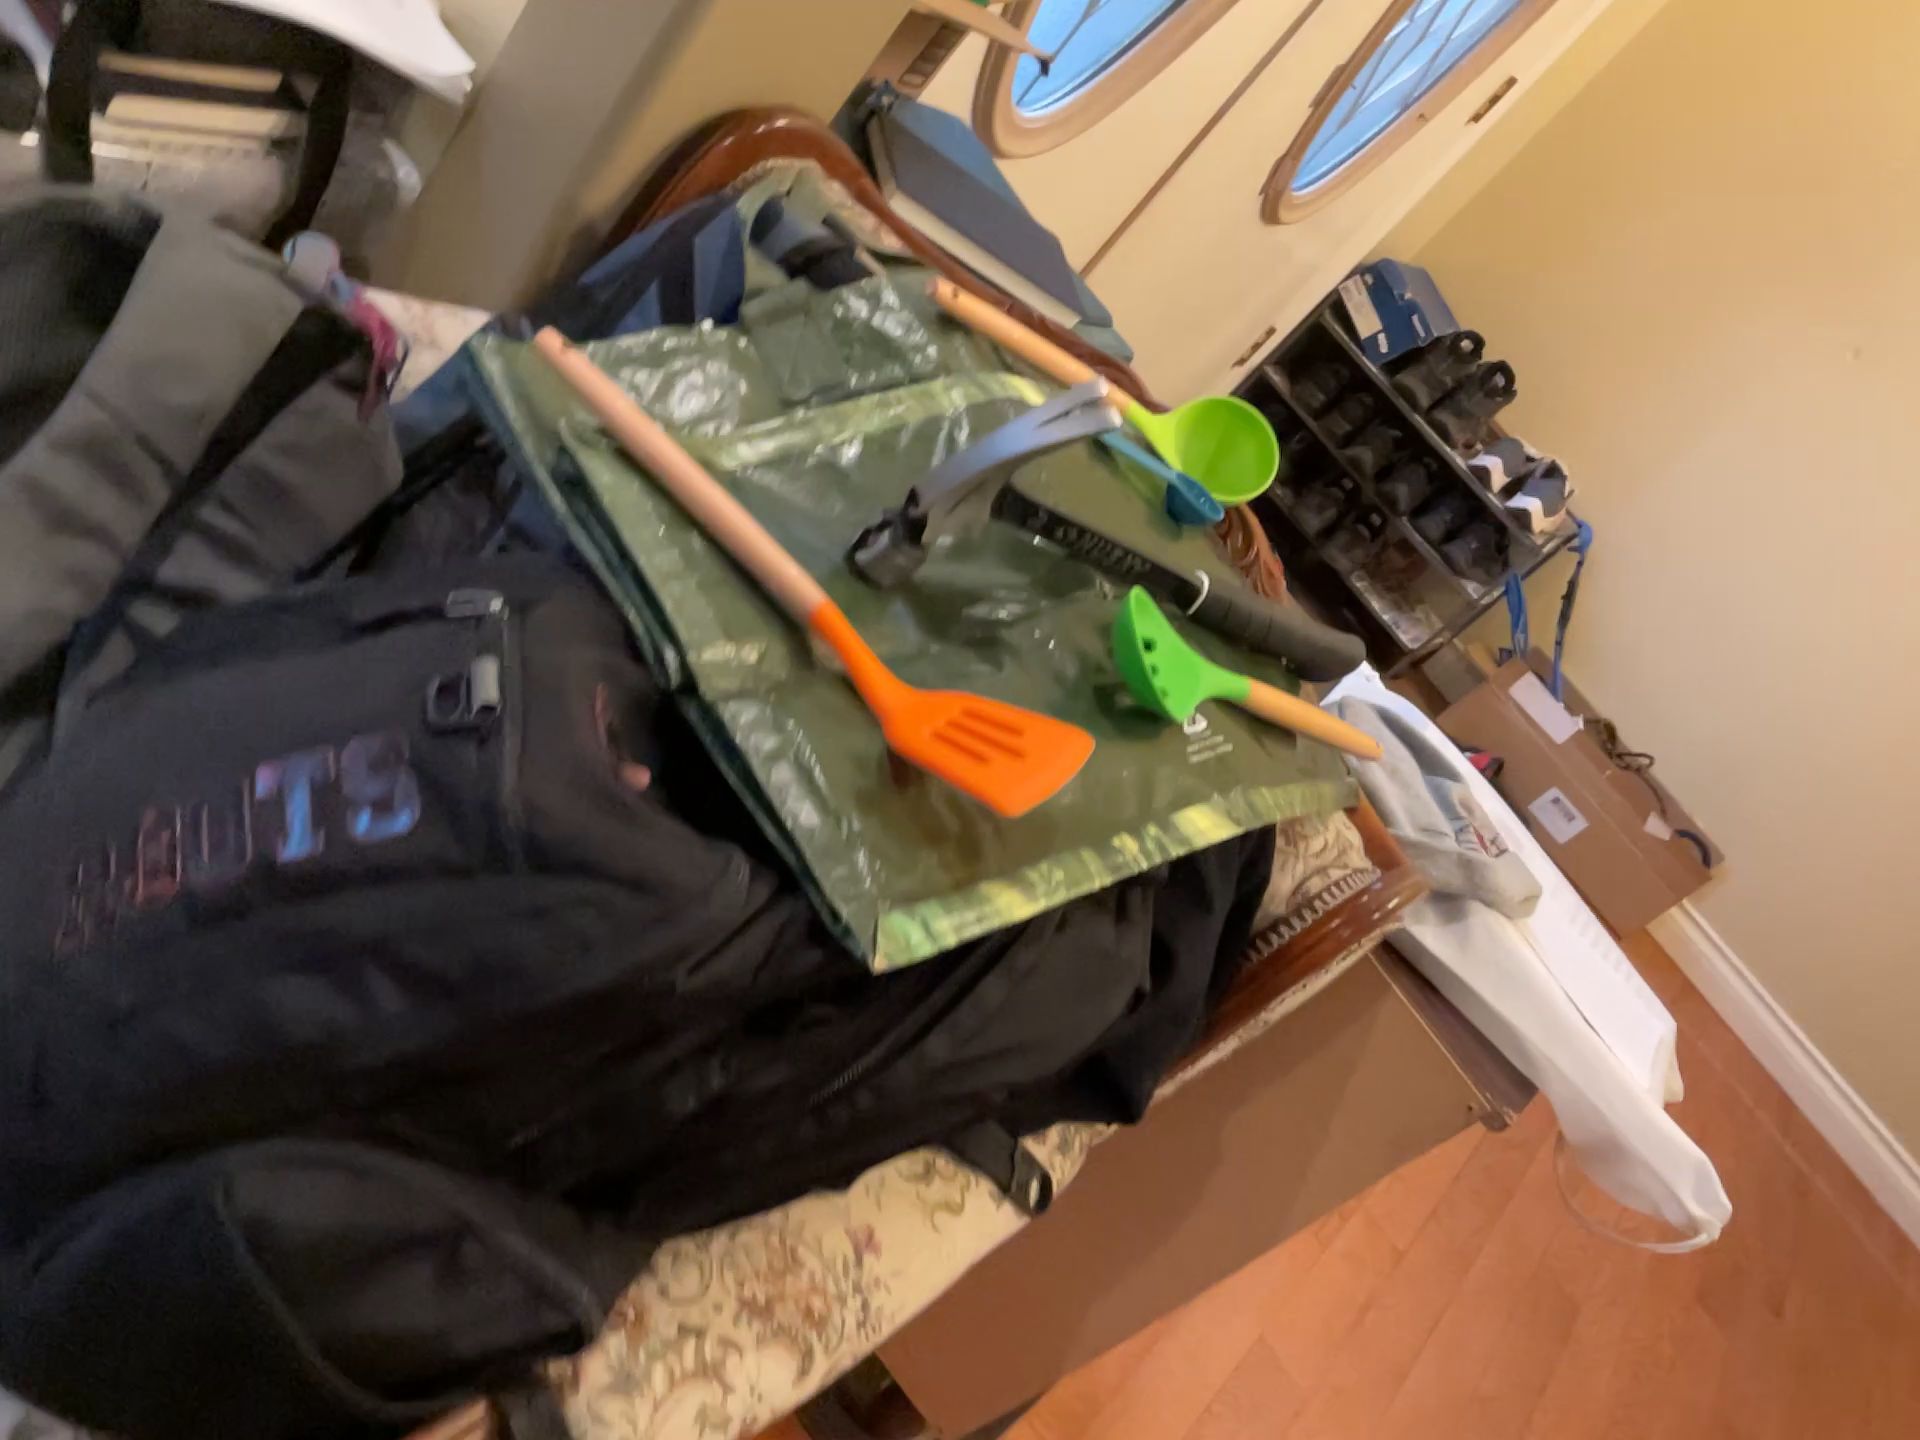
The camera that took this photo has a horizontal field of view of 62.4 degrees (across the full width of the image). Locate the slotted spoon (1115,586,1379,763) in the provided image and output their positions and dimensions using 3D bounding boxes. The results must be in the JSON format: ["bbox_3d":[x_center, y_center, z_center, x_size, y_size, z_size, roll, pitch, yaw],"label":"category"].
[{"bbox_3d":[0.169,-0.009,0.893,0.313,0.031,0.070,19,53,-51],"label":"slotted spoon"}]

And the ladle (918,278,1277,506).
[{"bbox_3d":[0.093,-0.206,0.977,0.319,0.062,0.078,18,64,-47],"label":"ladle"}]

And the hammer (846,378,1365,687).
[{"bbox_3d":[0.126,-0.079,0.900,0.408,0.149,0.036,17,48,-48],"label":"hammer"}]

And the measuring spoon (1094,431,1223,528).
[{"bbox_3d":[0.108,-0.151,0.967,0.128,0.021,0.042,27,33,-28],"label":"measuring spoon"}]

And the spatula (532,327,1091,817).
[{"bbox_3d":[-0.079,-0.072,0.716,0.323,0.041,0.081,45,38,8],"label":"spatula"}]
